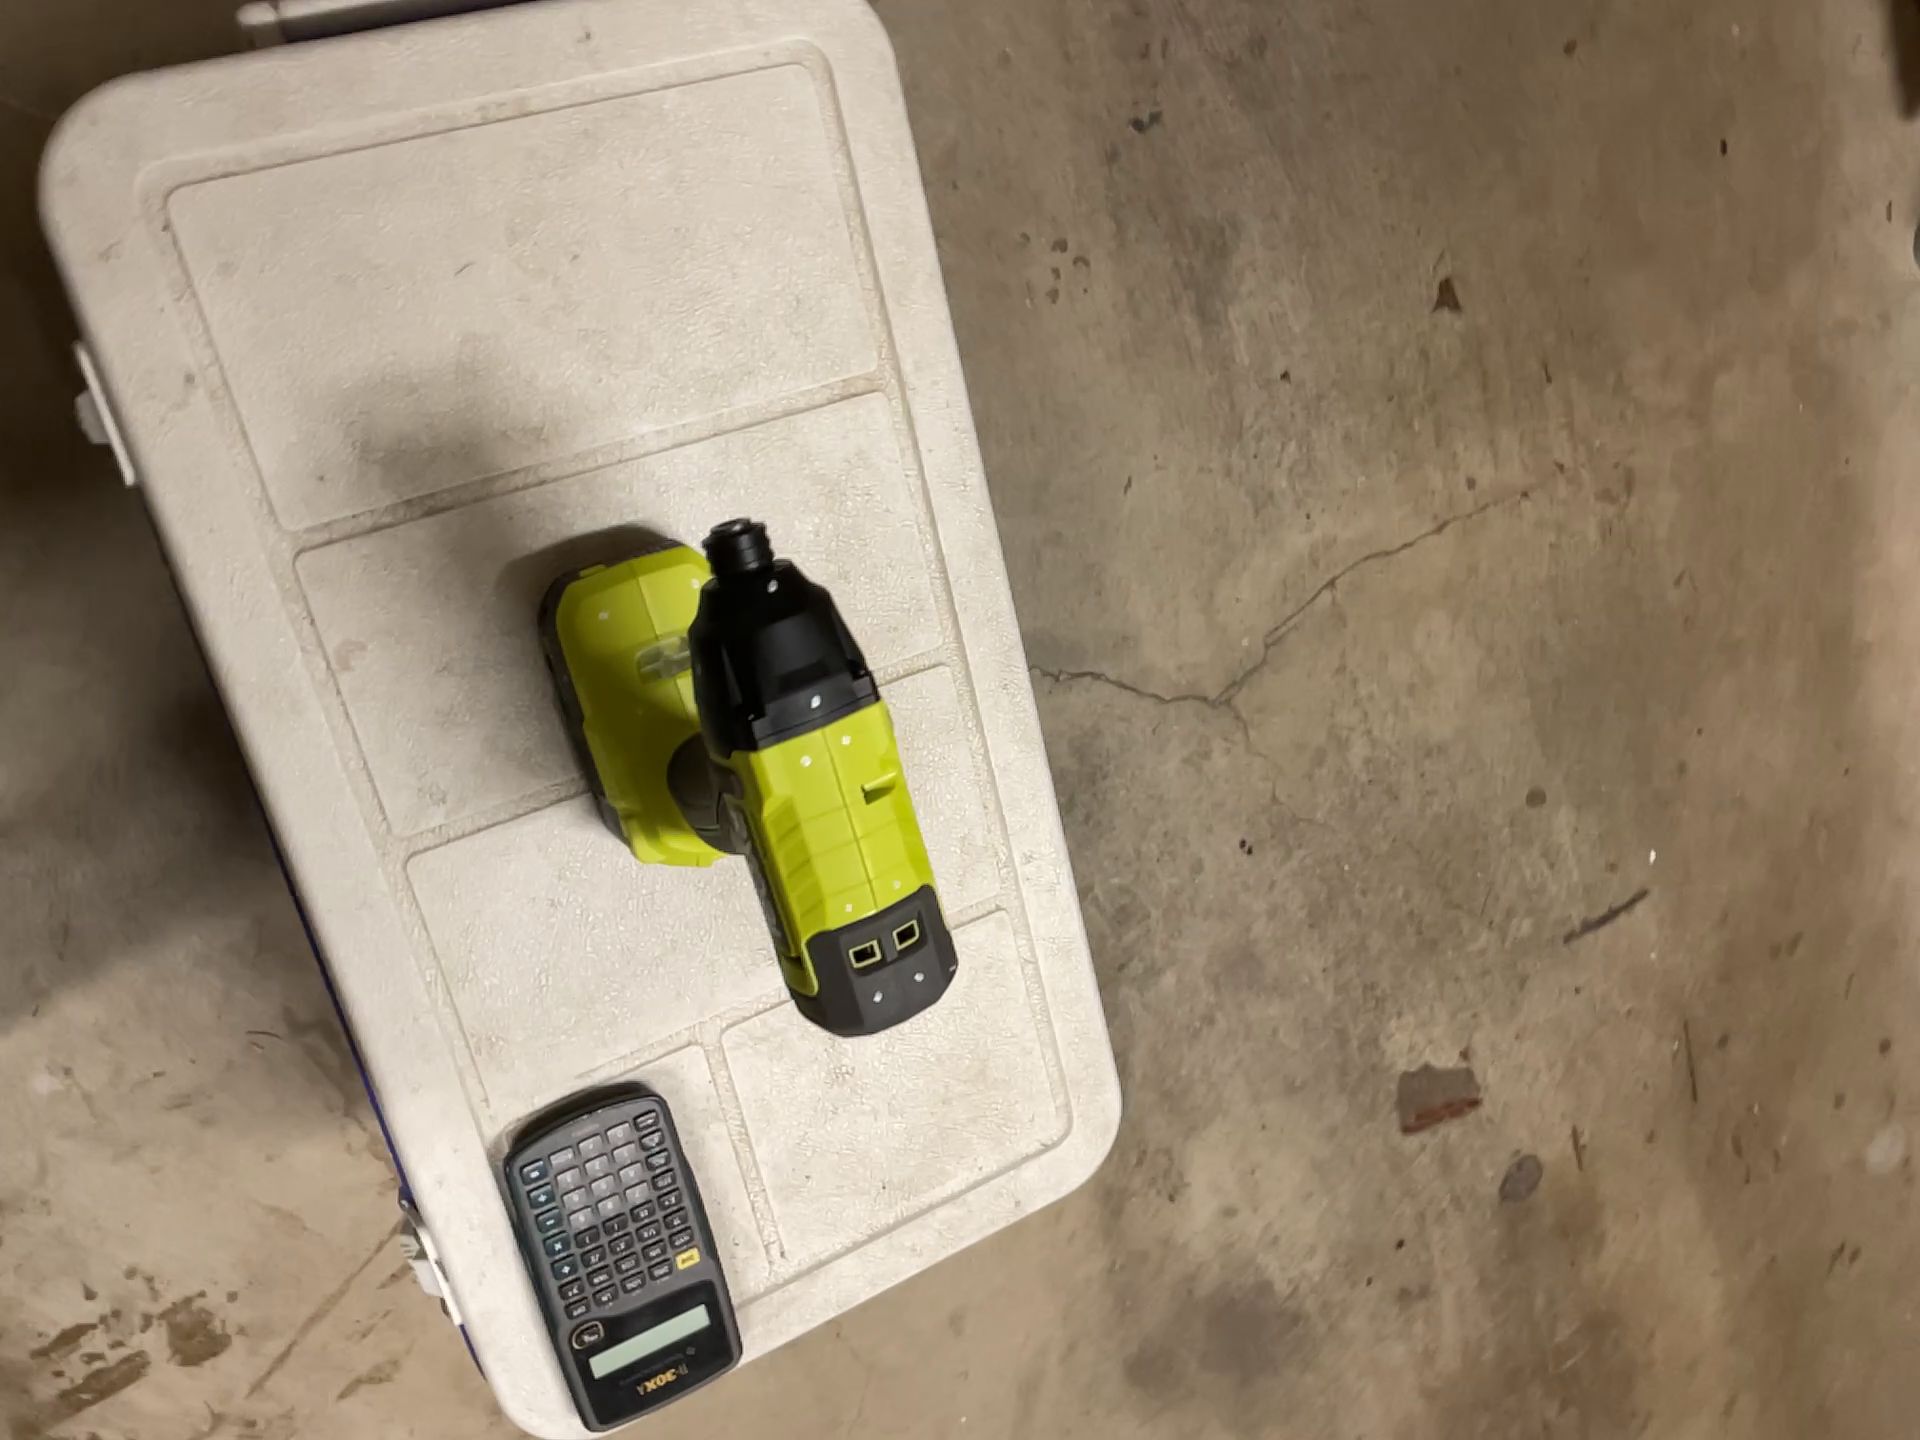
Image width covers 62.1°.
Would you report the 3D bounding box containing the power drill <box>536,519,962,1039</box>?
[{"bbox_3d":[-0.086,0.004,0.596,0.080,0.223,0.171,-23,109,-22],"label":"power drill"}]
